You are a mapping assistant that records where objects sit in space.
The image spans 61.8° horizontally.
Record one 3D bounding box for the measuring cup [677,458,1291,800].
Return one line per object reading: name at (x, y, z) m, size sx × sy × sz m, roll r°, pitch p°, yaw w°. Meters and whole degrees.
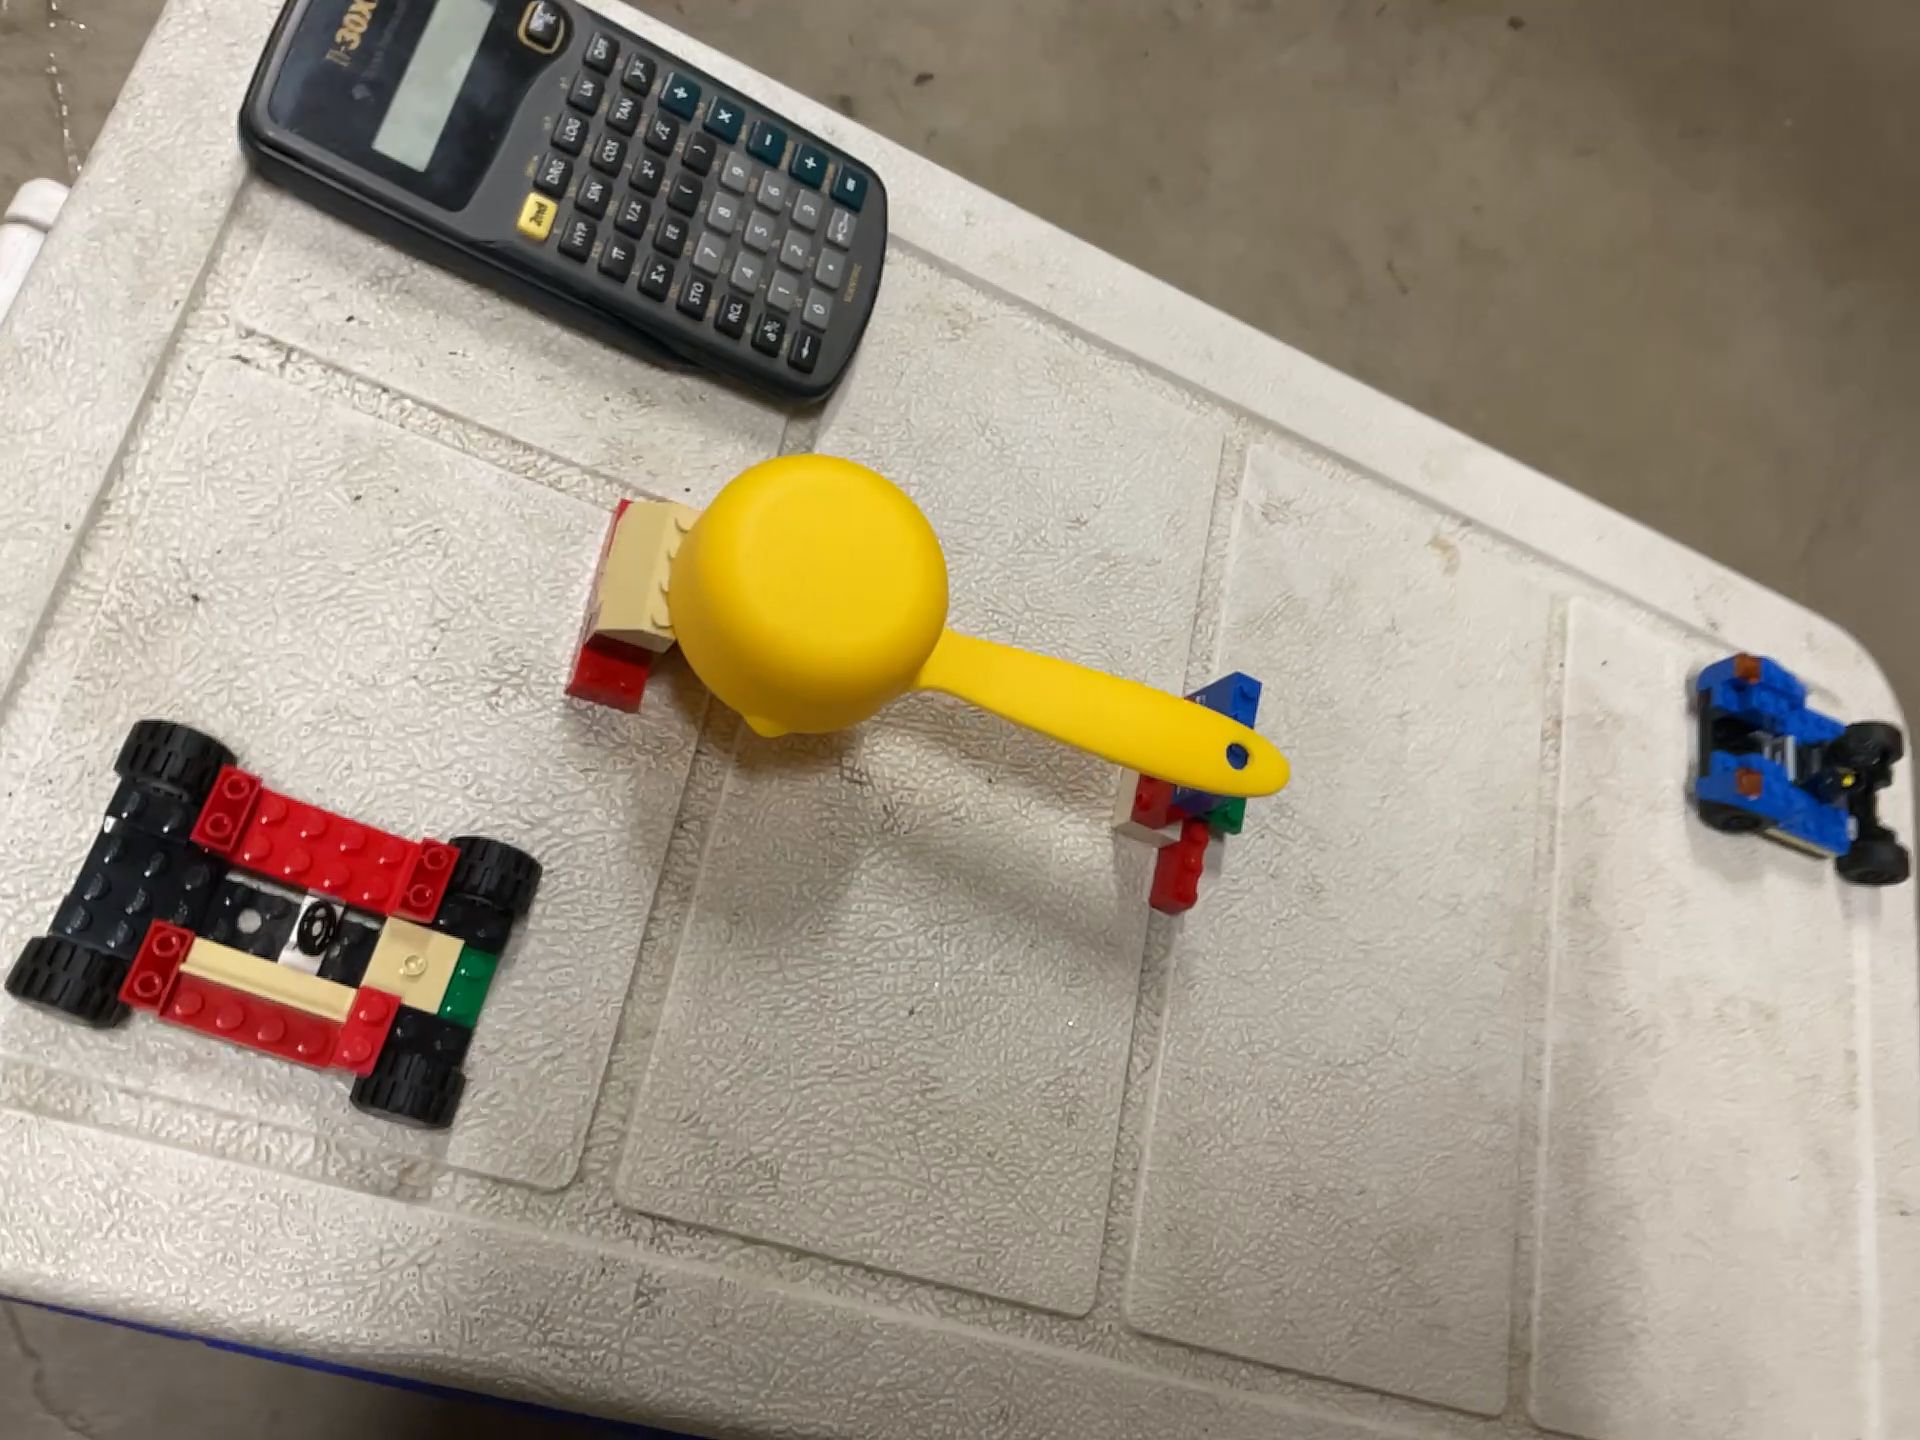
measuring cup at (0.014, -0.014, 0.365) m, size 0.156 × 0.029 × 0.062 m, roll 19°, pitch 66°, yaw -15°
